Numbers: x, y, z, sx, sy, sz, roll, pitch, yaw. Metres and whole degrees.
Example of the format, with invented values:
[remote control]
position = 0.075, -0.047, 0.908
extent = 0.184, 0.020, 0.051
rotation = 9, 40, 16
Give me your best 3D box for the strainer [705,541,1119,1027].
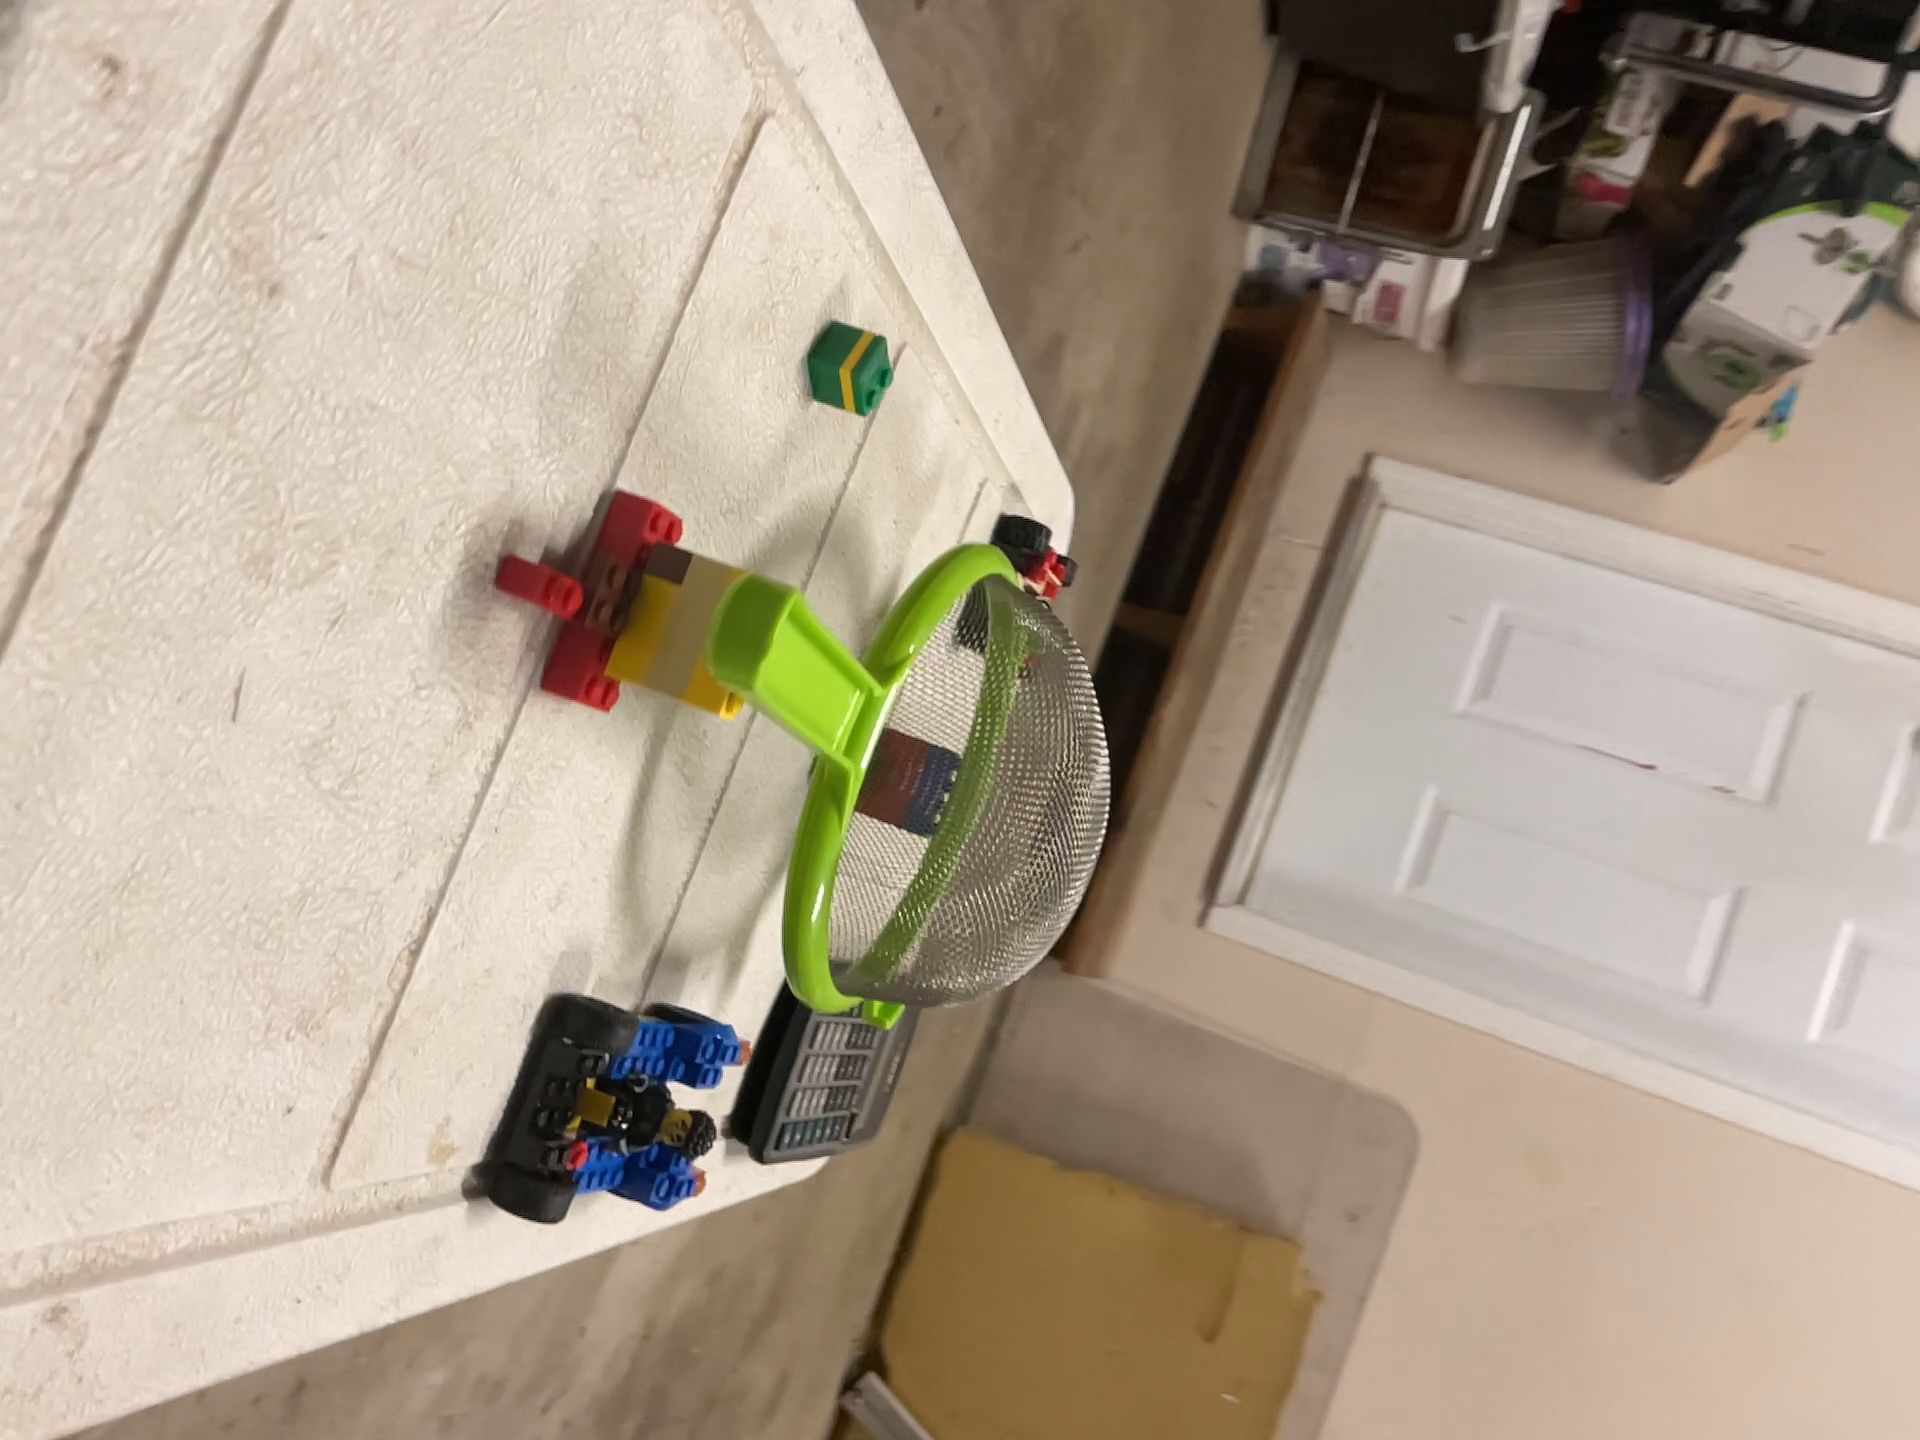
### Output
[strainer]
position = 0.000, 0.016, 0.431
extent = 0.256, 0.069, 0.151
rotation = 52, 60, -74
